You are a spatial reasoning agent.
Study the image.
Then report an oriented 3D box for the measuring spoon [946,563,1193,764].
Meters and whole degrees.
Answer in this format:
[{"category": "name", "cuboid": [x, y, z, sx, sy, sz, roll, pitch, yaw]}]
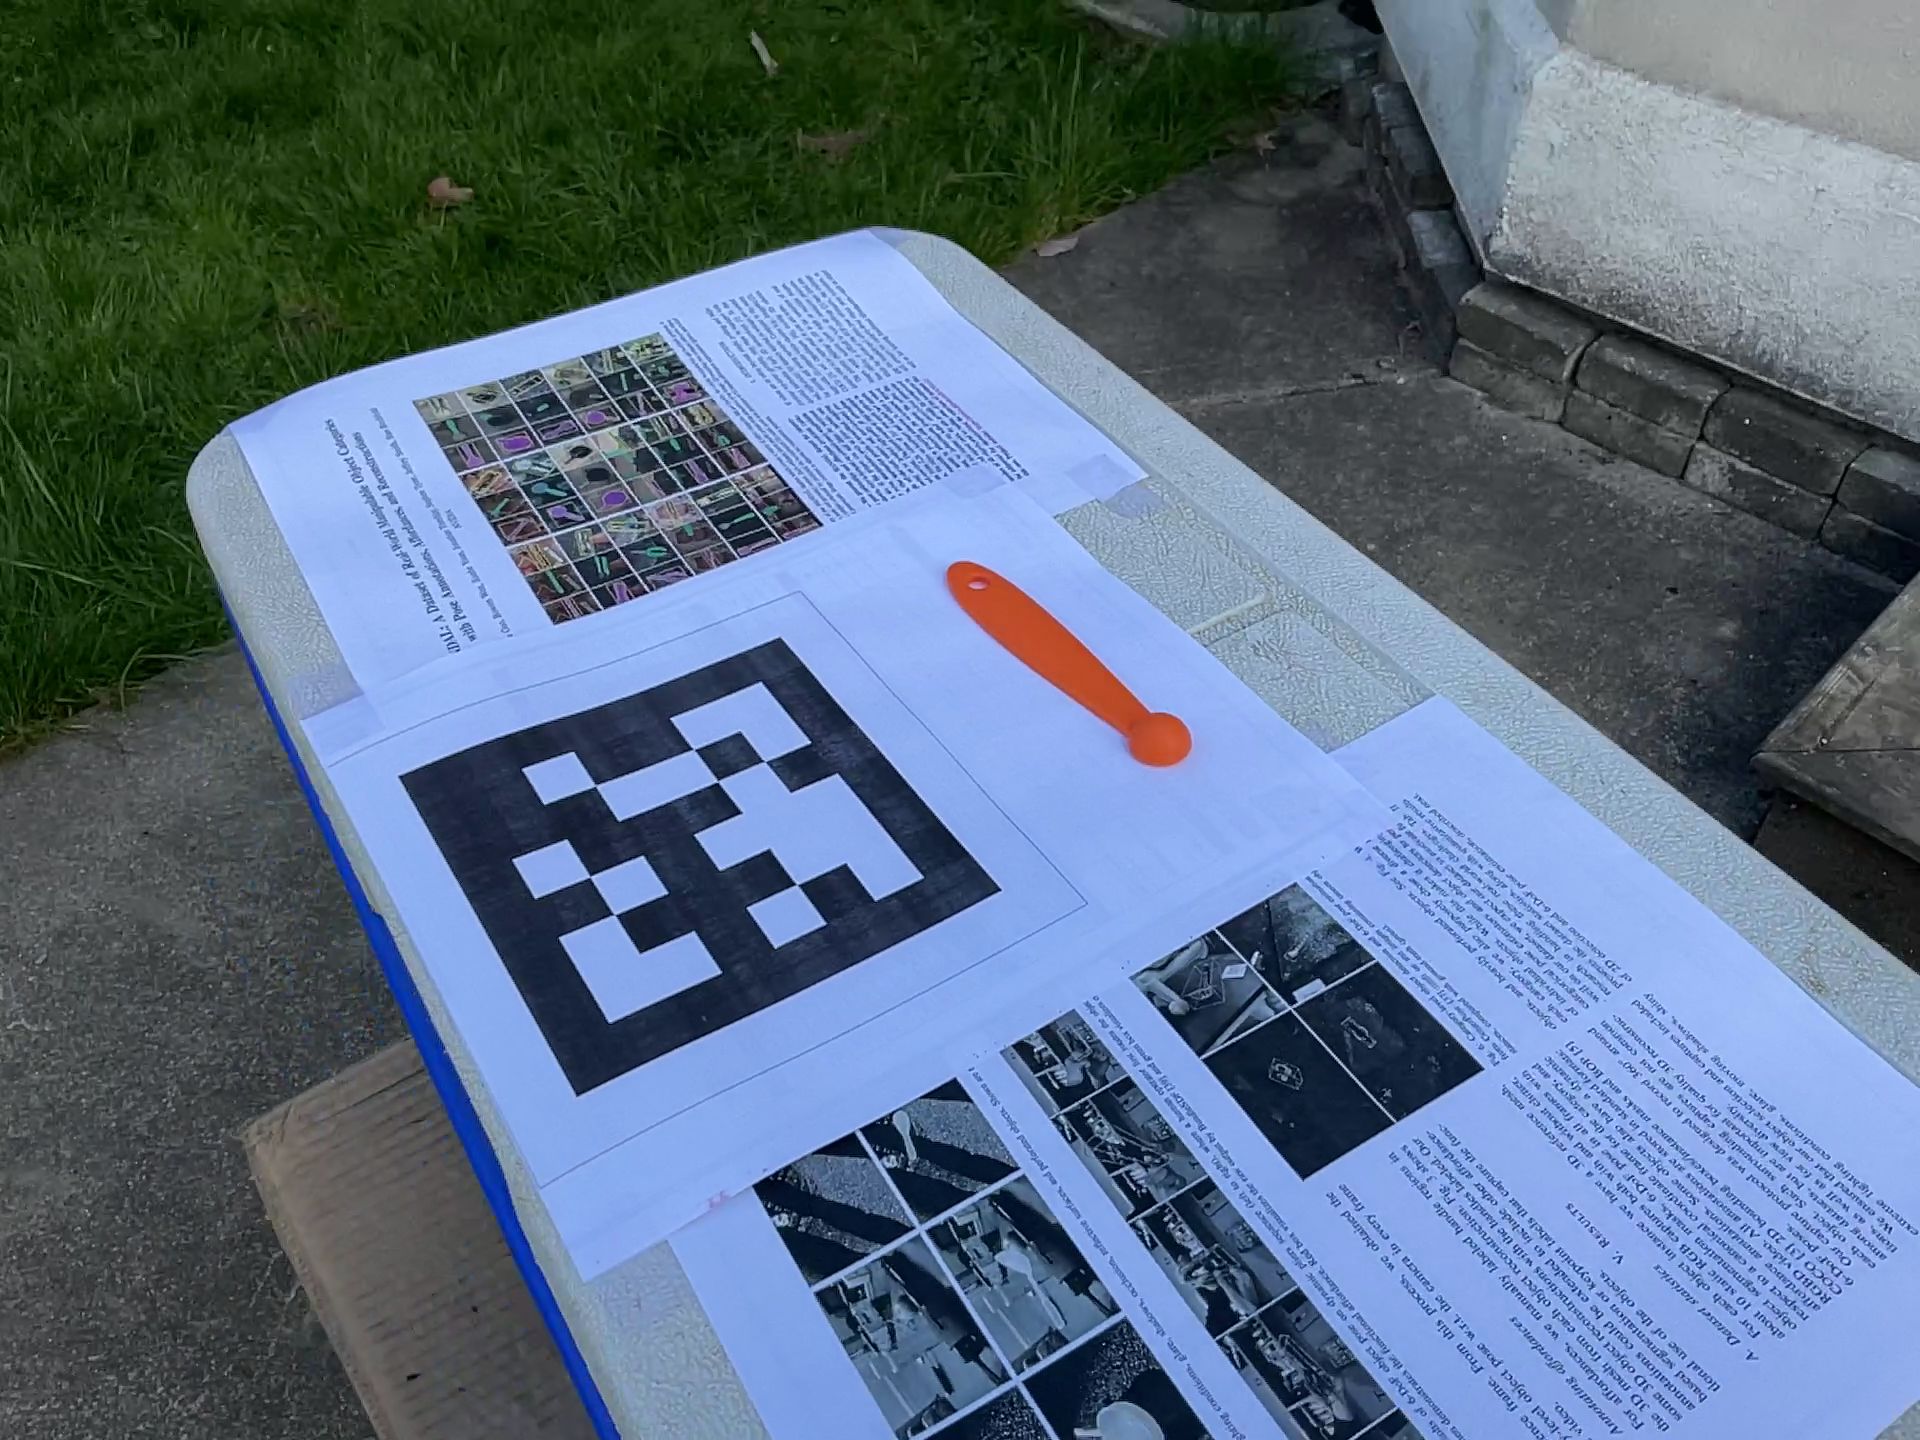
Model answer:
[{"category": "measuring spoon", "cuboid": [0.032, -0.023, 0.515, 0.021, 0.011, 0.117, -23, 47, -29]}]
